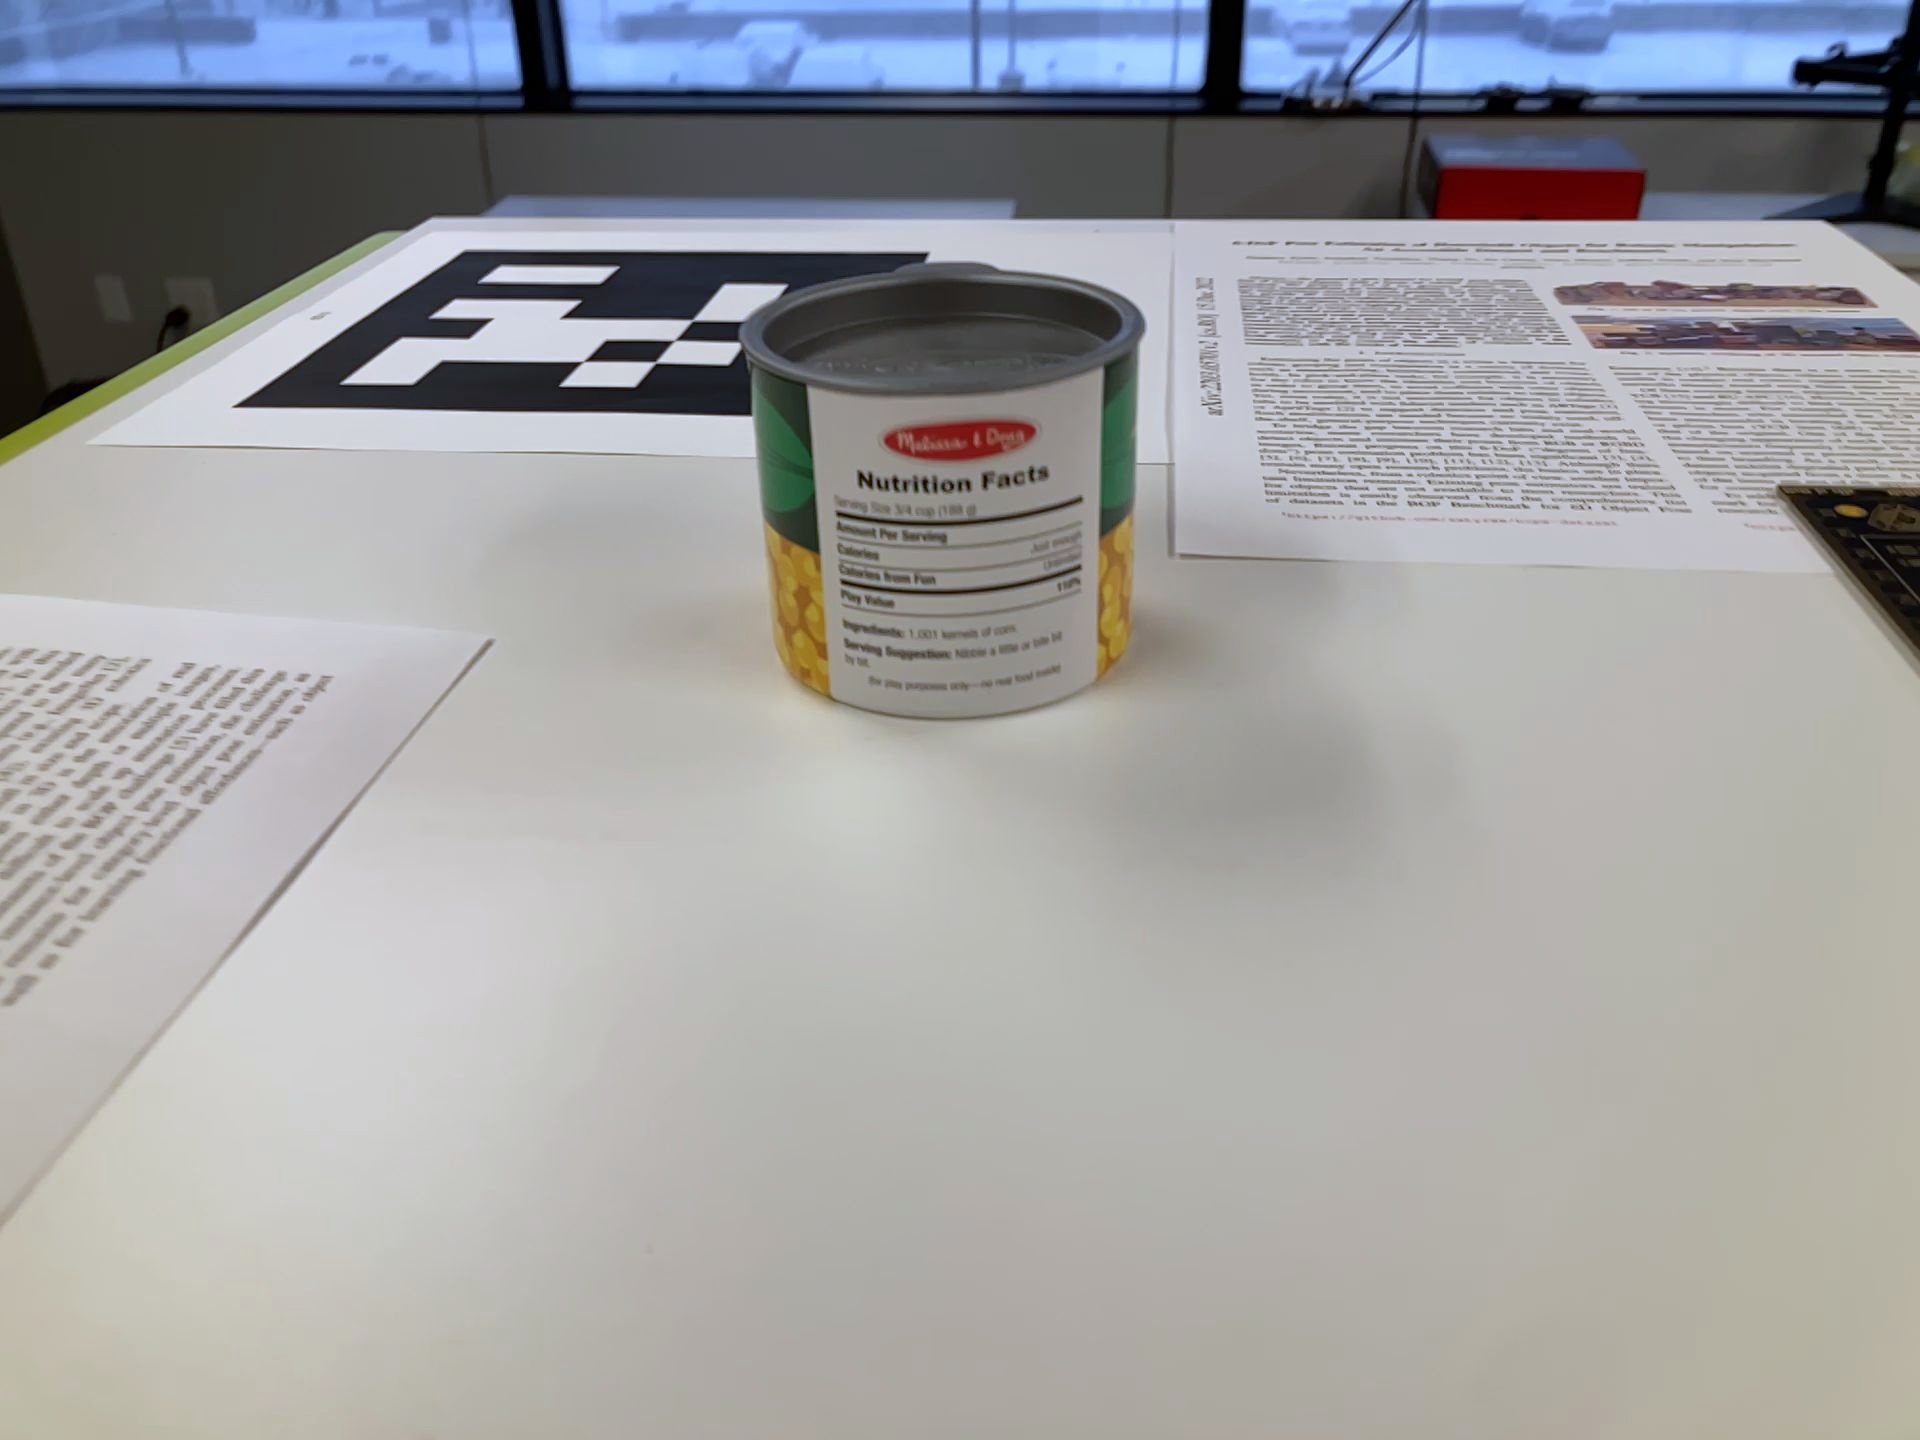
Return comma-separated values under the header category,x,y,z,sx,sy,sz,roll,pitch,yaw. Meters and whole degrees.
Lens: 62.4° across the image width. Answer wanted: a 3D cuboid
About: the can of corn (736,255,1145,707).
category,x,y,z,sx,sy,sz,roll,pitch,yaw
can of corn,-0.002,-0.043,0.274,0.071,0.058,0.071,-1,29,1
